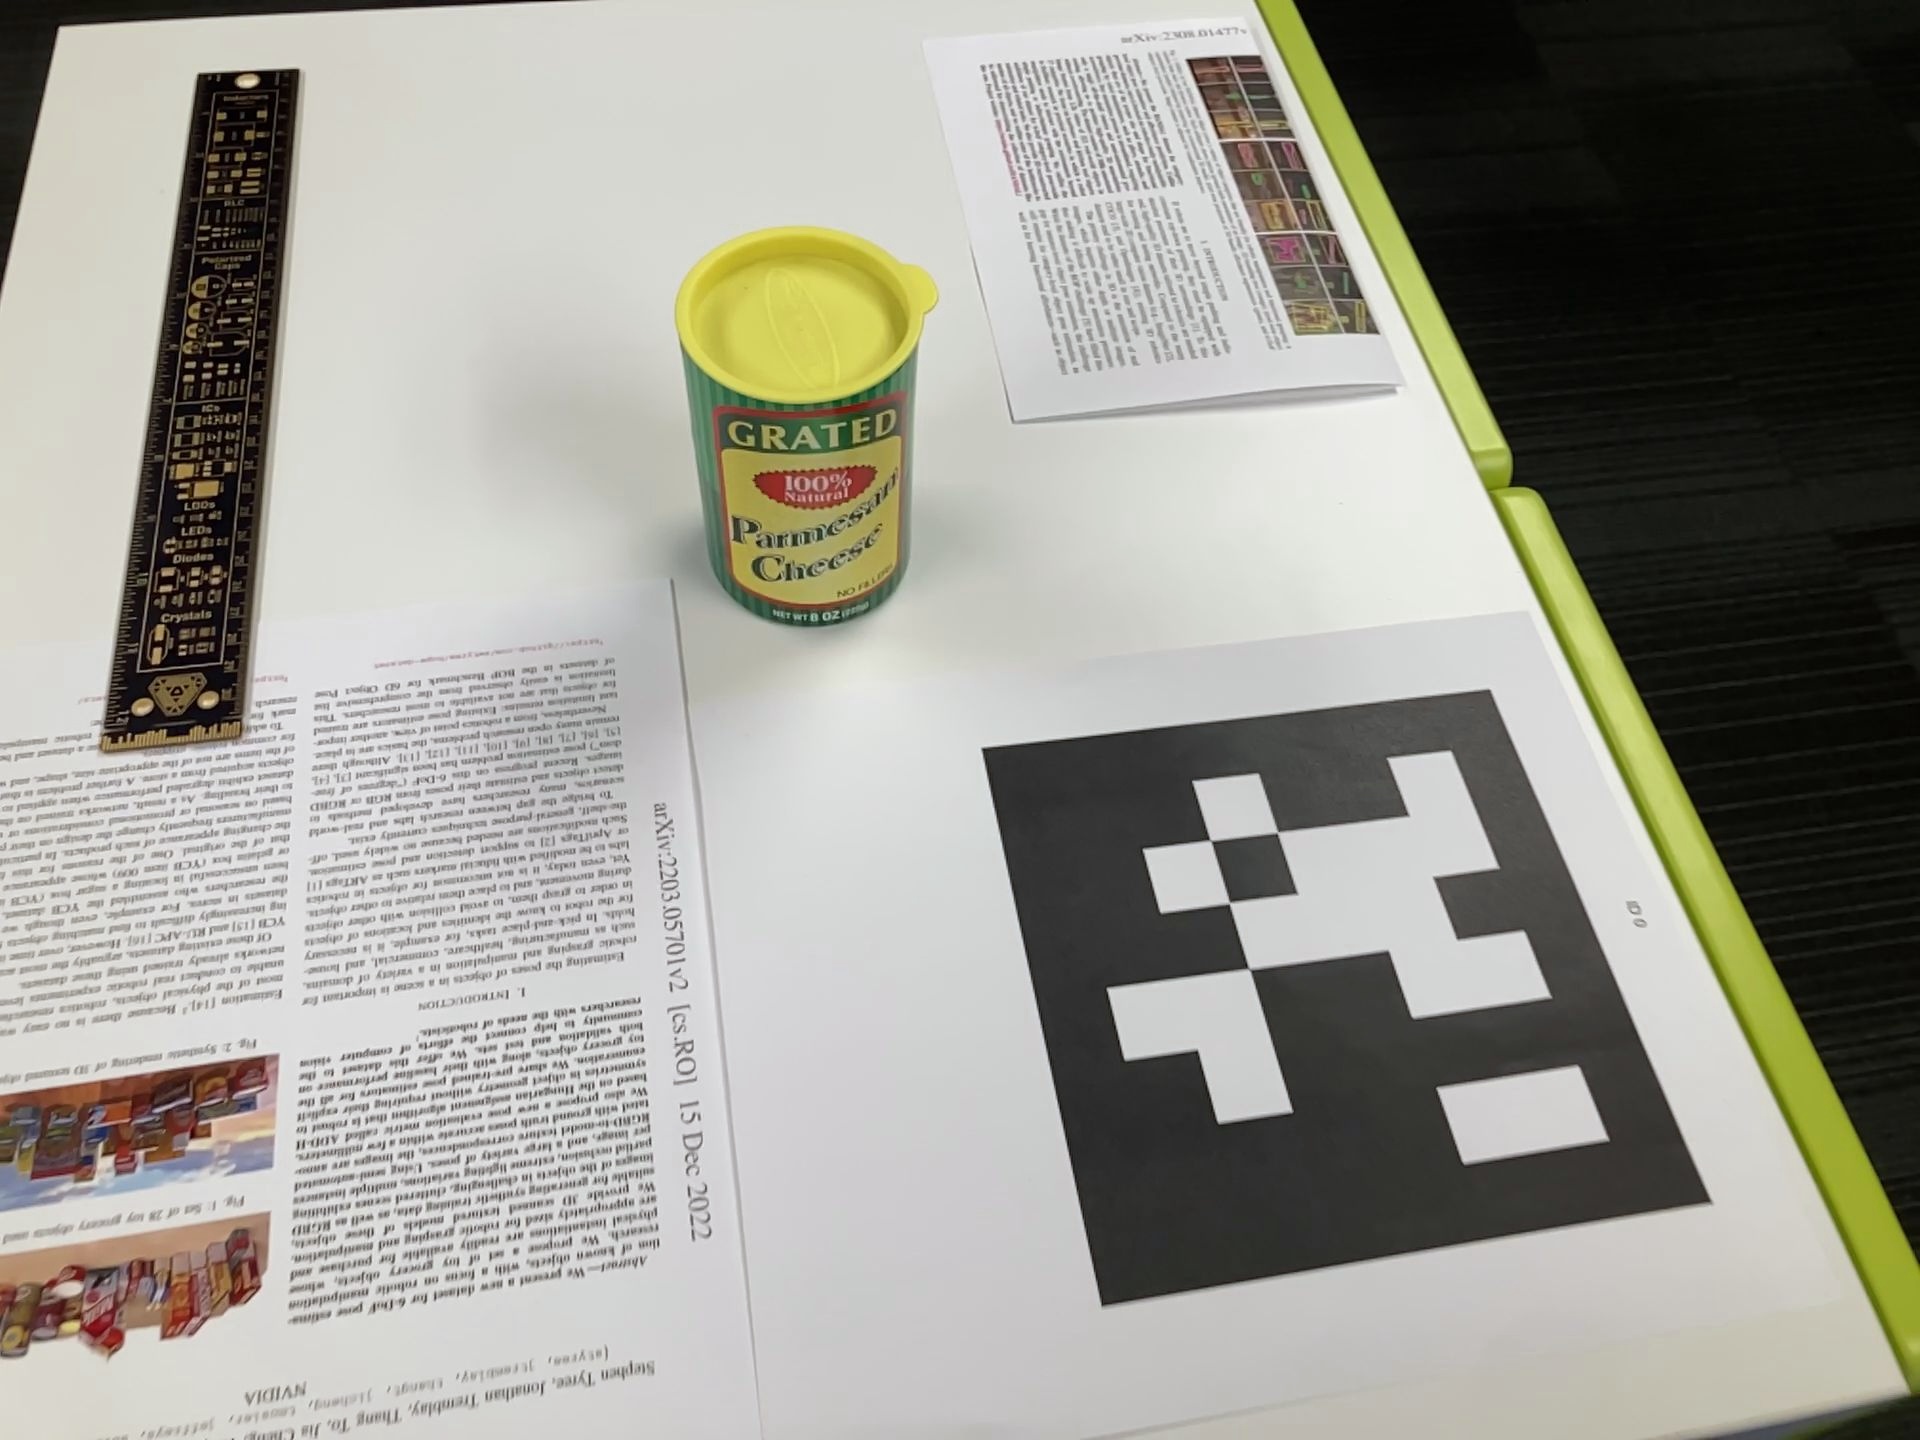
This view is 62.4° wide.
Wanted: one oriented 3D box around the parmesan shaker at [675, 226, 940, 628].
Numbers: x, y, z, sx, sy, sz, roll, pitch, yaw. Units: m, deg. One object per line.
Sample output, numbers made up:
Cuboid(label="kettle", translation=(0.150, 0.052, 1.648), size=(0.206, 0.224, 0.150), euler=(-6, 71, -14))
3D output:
Cuboid(label="parmesan shaker", translation=(-0.043, -0.083, 0.467), size=(0.071, 0.103, 0.071), euler=(1, 57, -2))
